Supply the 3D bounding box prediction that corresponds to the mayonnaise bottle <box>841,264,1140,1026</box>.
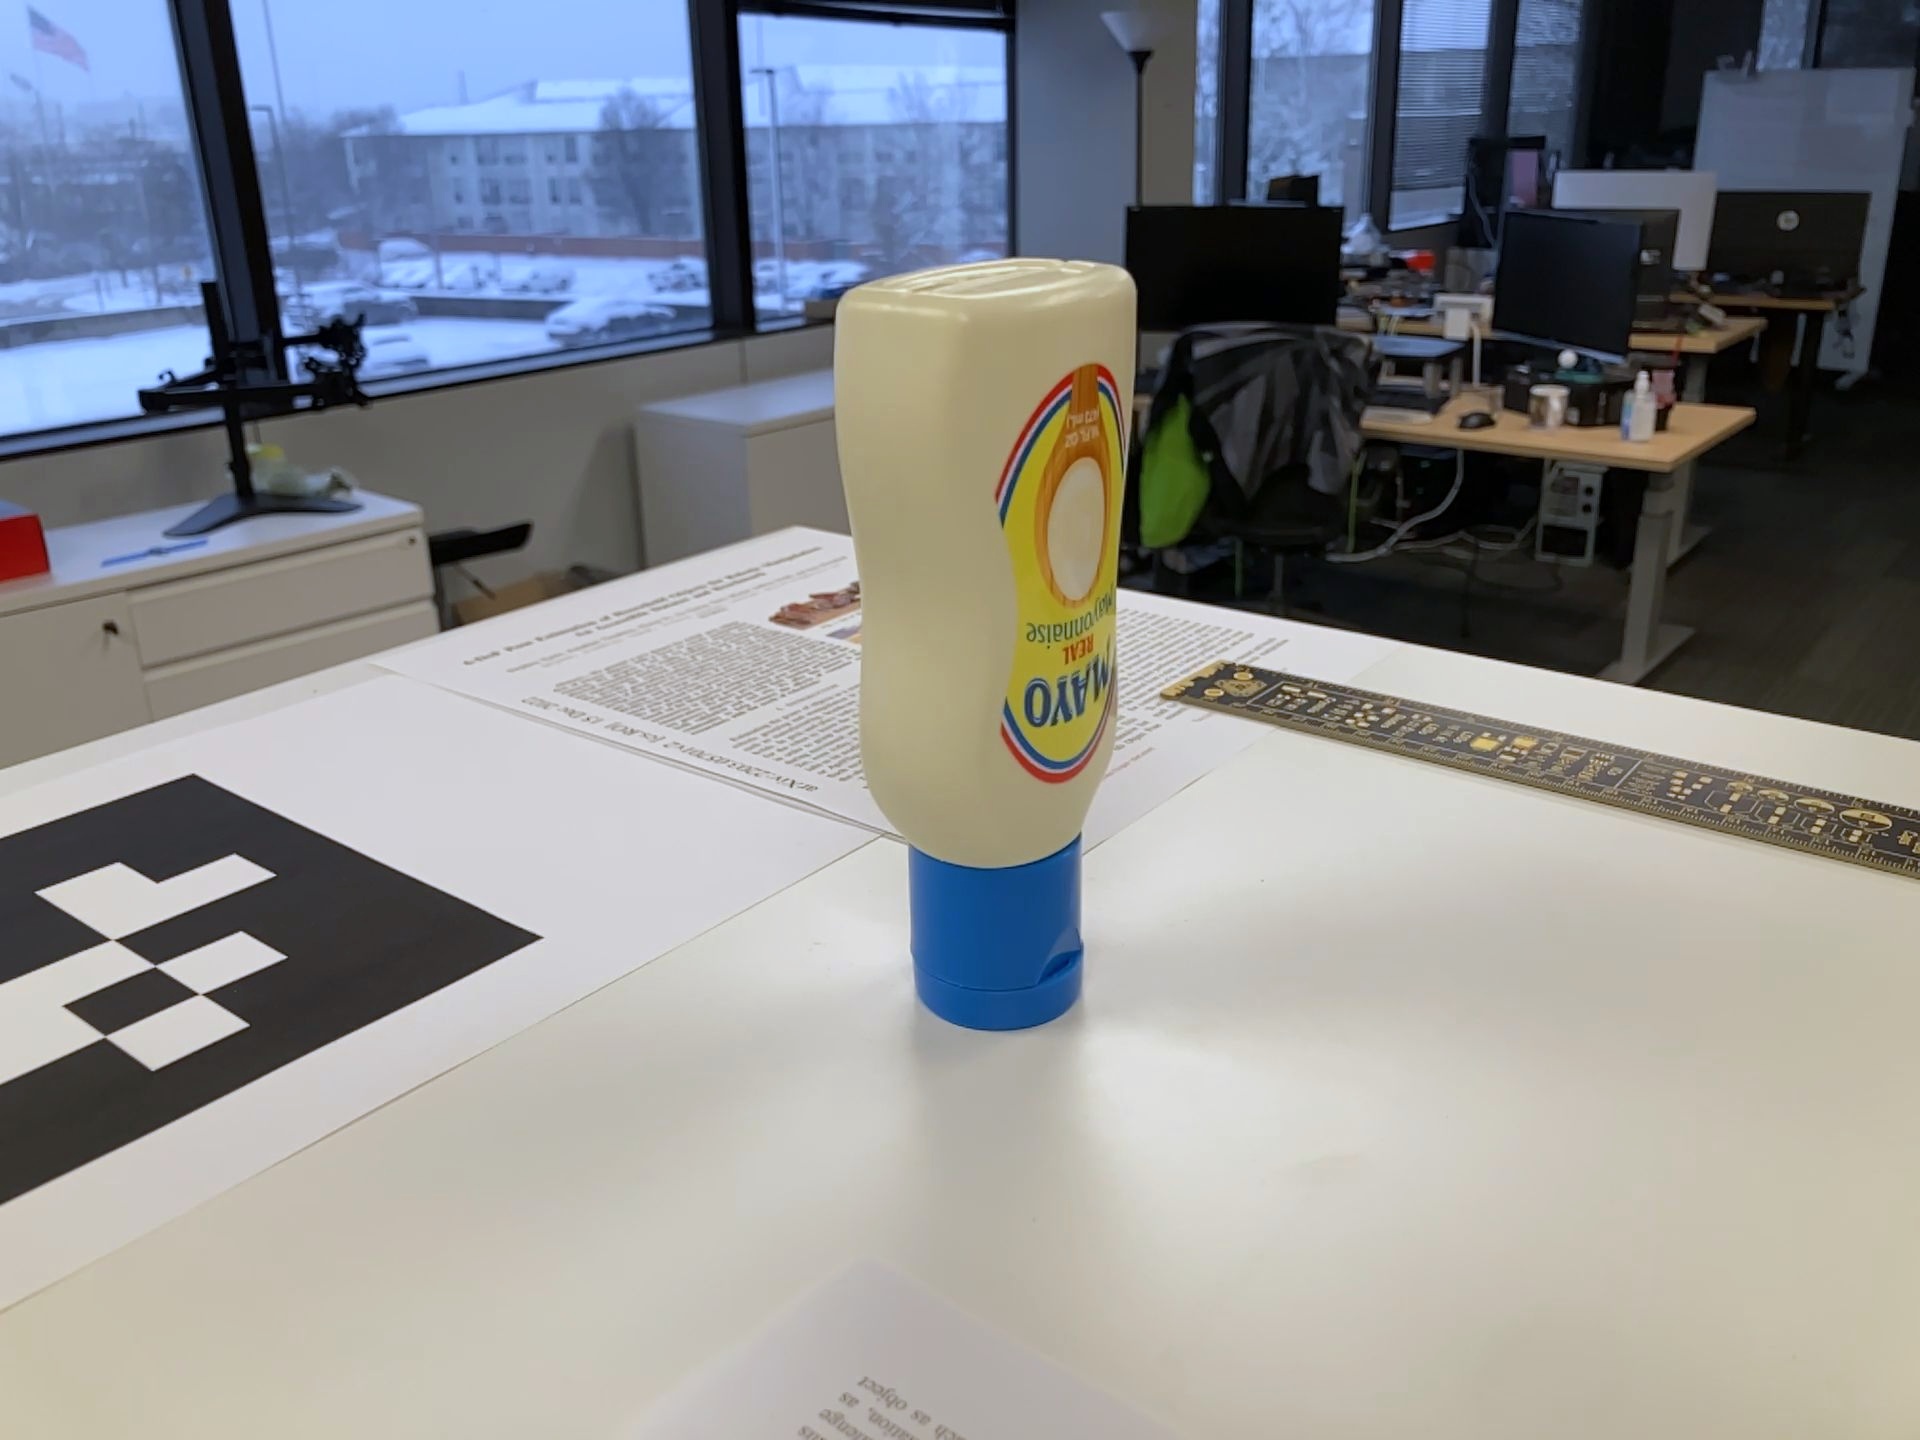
[{"bbox_3d":[0.008,-0.012,0.316,0.041,0.148,0.065,14,26,35],"label":"mayonnaise bottle"}]
